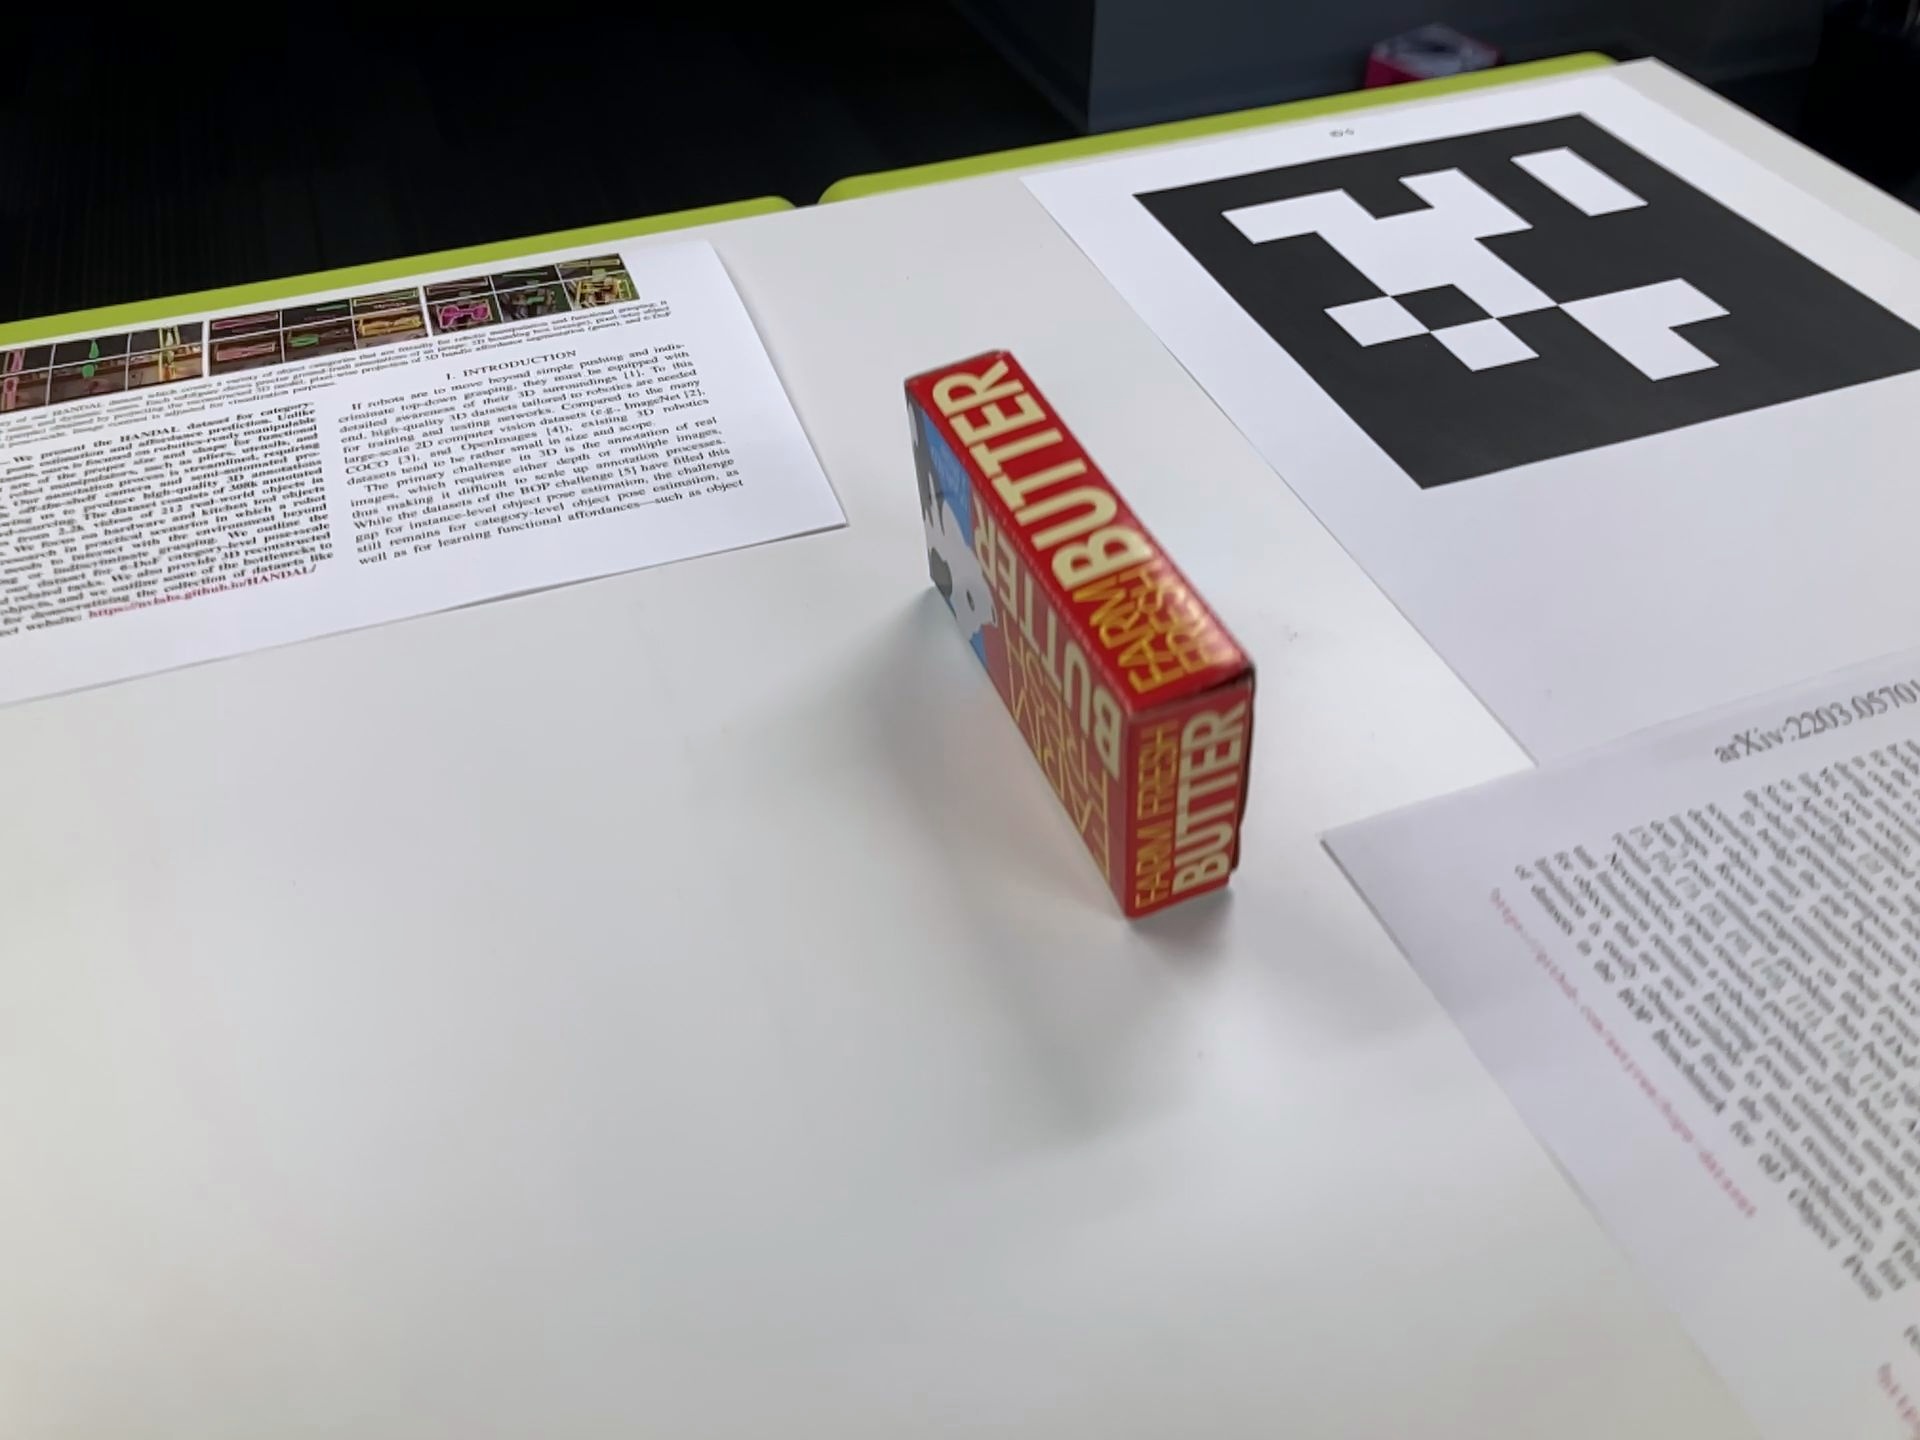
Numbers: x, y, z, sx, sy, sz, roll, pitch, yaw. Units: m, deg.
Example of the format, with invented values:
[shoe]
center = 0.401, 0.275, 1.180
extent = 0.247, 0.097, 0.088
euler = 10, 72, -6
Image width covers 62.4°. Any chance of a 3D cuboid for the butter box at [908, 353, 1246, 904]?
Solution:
[butter box]
center = 0.020, -0.020, 0.299
extent = 0.024, 0.053, 0.103
euler = -18, 46, -11
